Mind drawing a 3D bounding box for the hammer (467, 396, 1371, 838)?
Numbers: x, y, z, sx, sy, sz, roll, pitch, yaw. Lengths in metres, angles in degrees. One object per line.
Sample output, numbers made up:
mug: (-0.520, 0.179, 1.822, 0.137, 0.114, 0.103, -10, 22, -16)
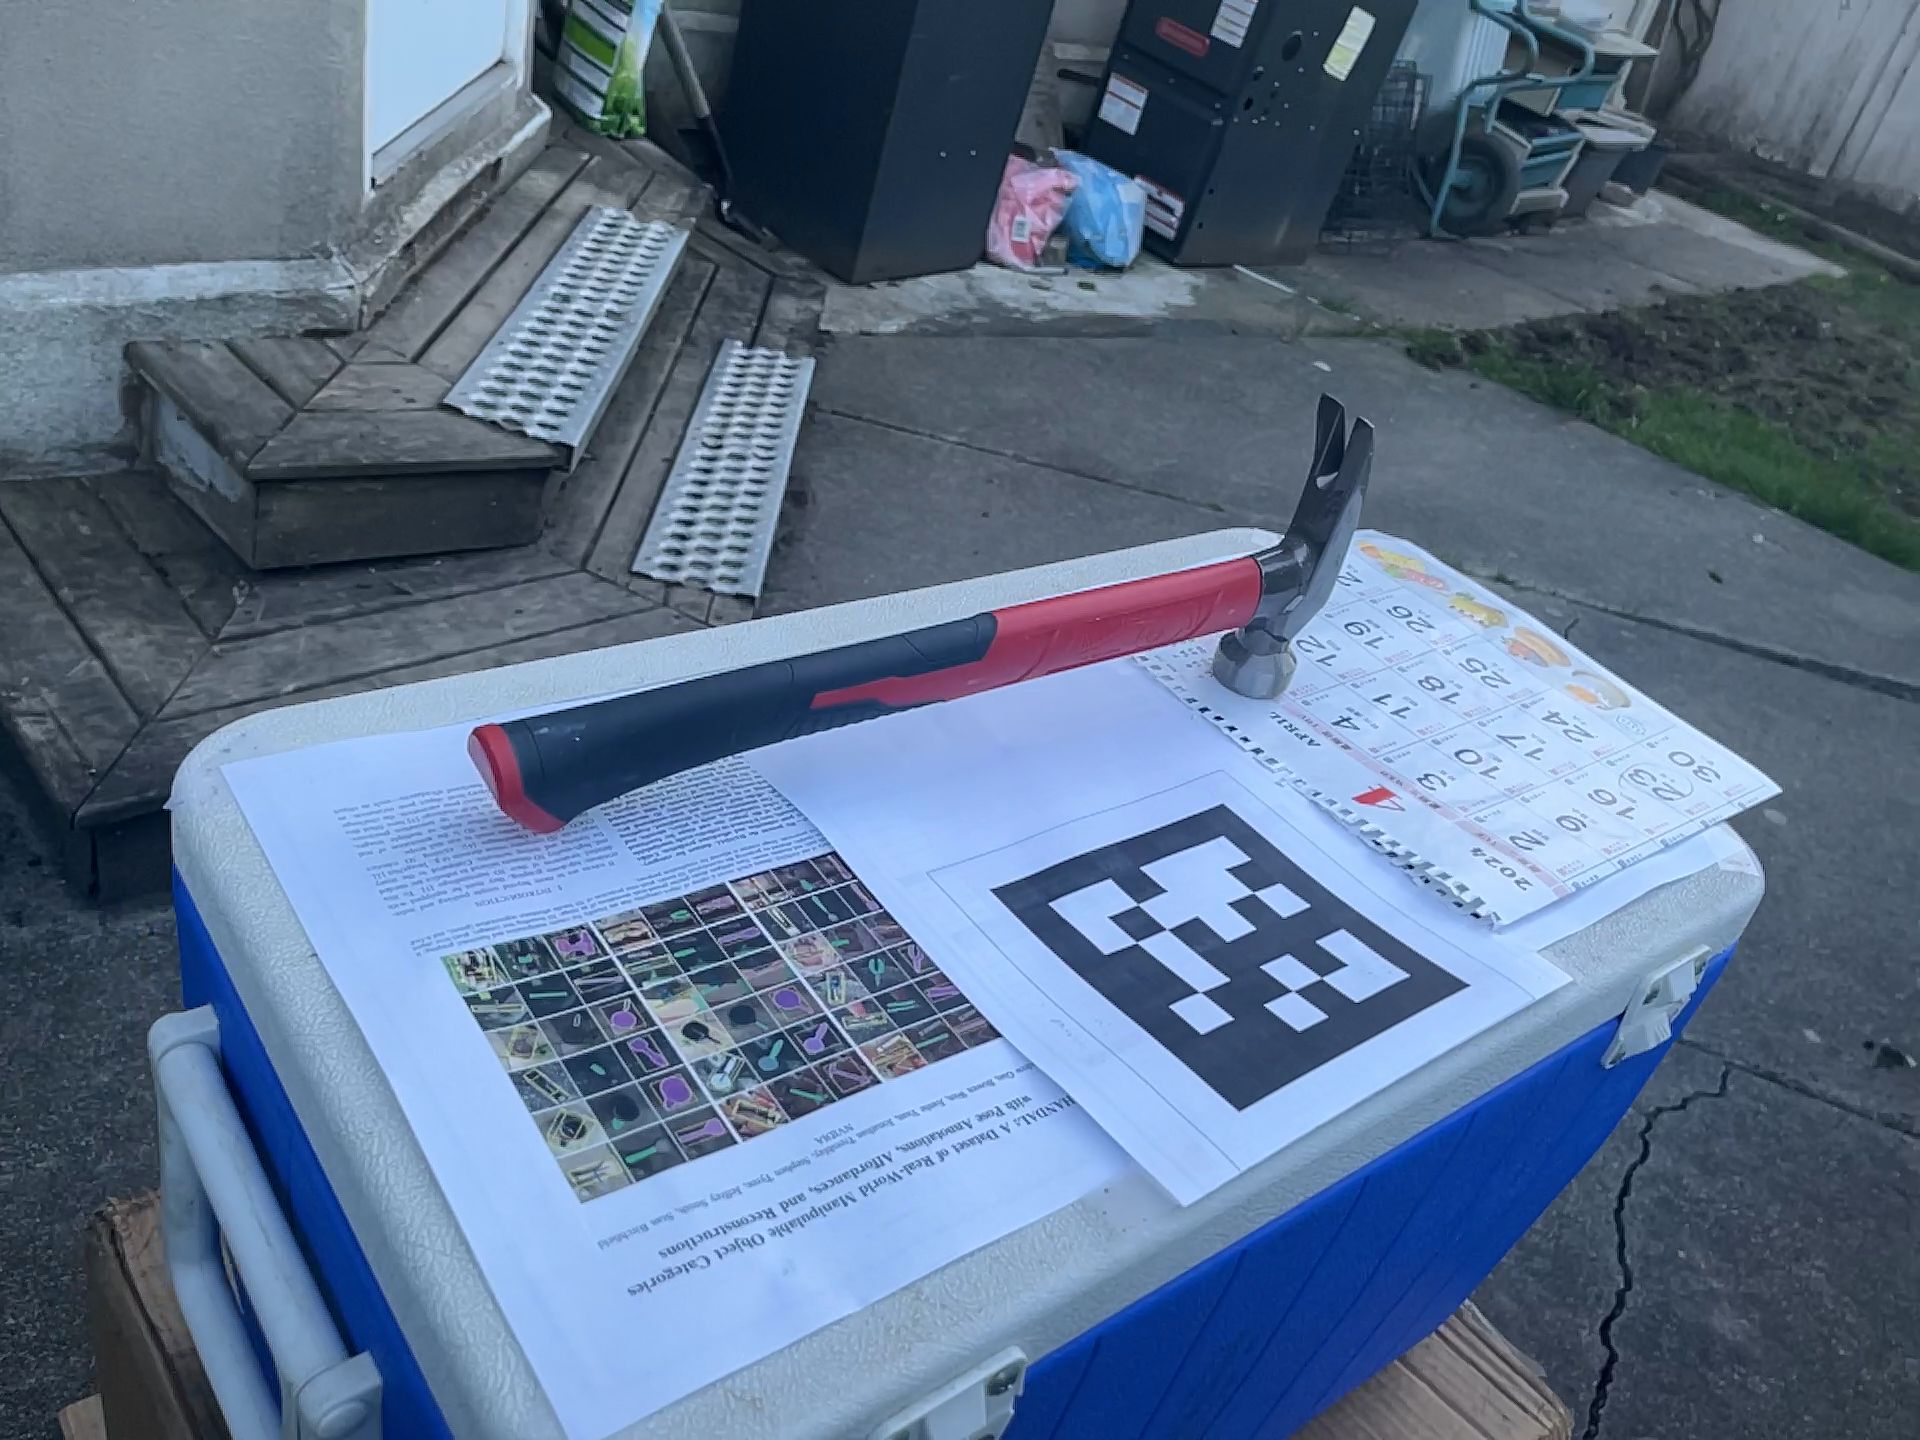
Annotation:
hammer: (0.004, -0.036, 0.605, 0.386, 0.143, 0.038, -15, 44, -31)
